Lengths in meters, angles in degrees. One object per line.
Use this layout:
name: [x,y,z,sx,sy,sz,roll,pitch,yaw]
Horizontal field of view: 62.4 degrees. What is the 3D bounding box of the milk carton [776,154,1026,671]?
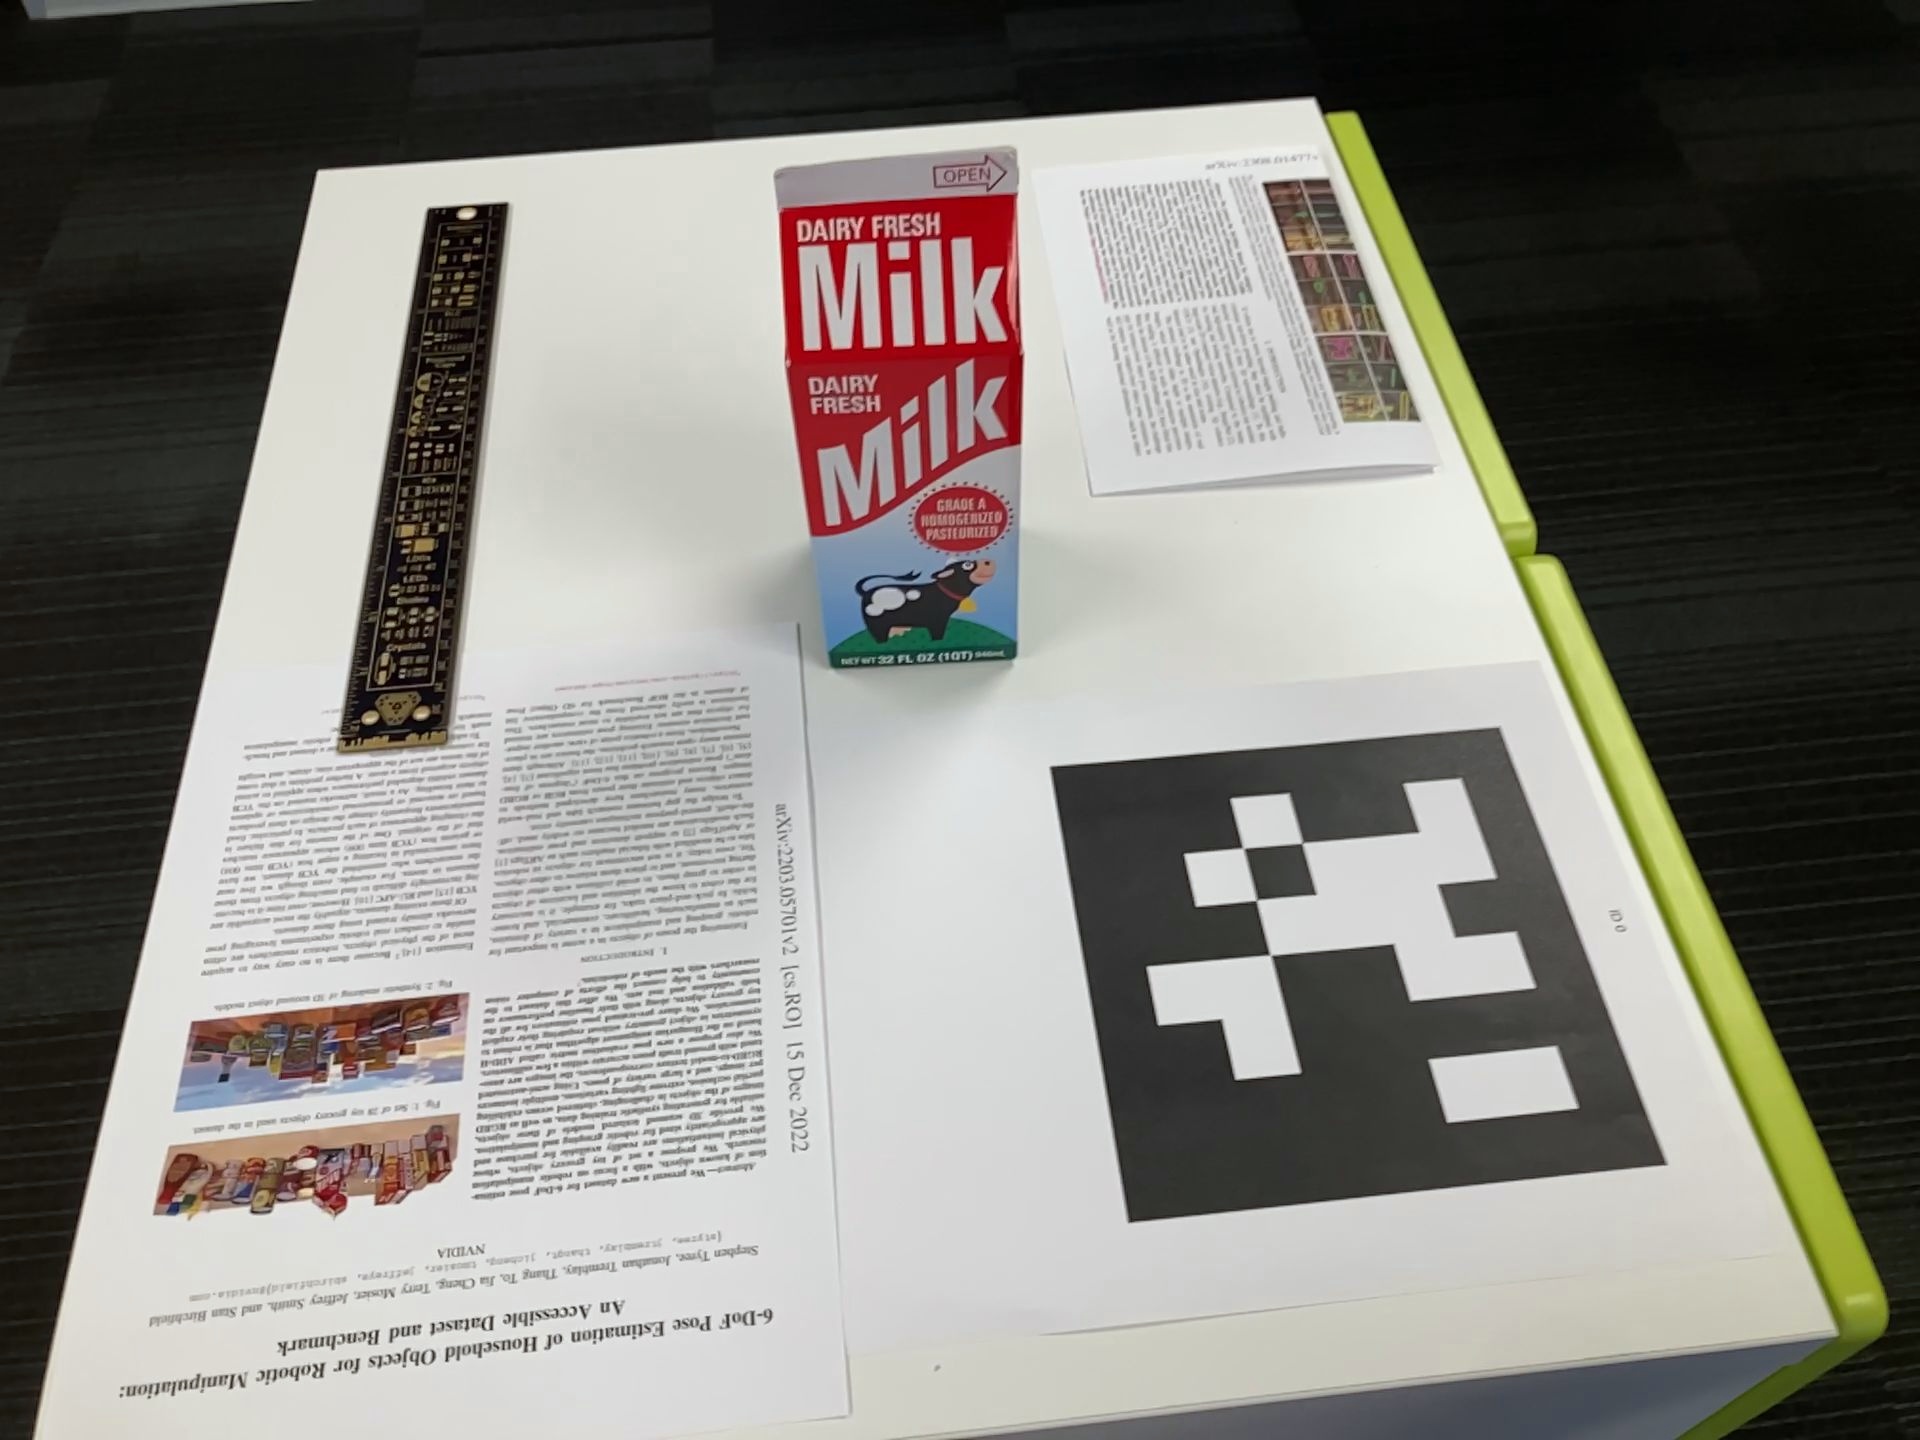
milk carton: [-0.016,-0.103,0.525,0.072,0.190,0.073,-3,54,0]
